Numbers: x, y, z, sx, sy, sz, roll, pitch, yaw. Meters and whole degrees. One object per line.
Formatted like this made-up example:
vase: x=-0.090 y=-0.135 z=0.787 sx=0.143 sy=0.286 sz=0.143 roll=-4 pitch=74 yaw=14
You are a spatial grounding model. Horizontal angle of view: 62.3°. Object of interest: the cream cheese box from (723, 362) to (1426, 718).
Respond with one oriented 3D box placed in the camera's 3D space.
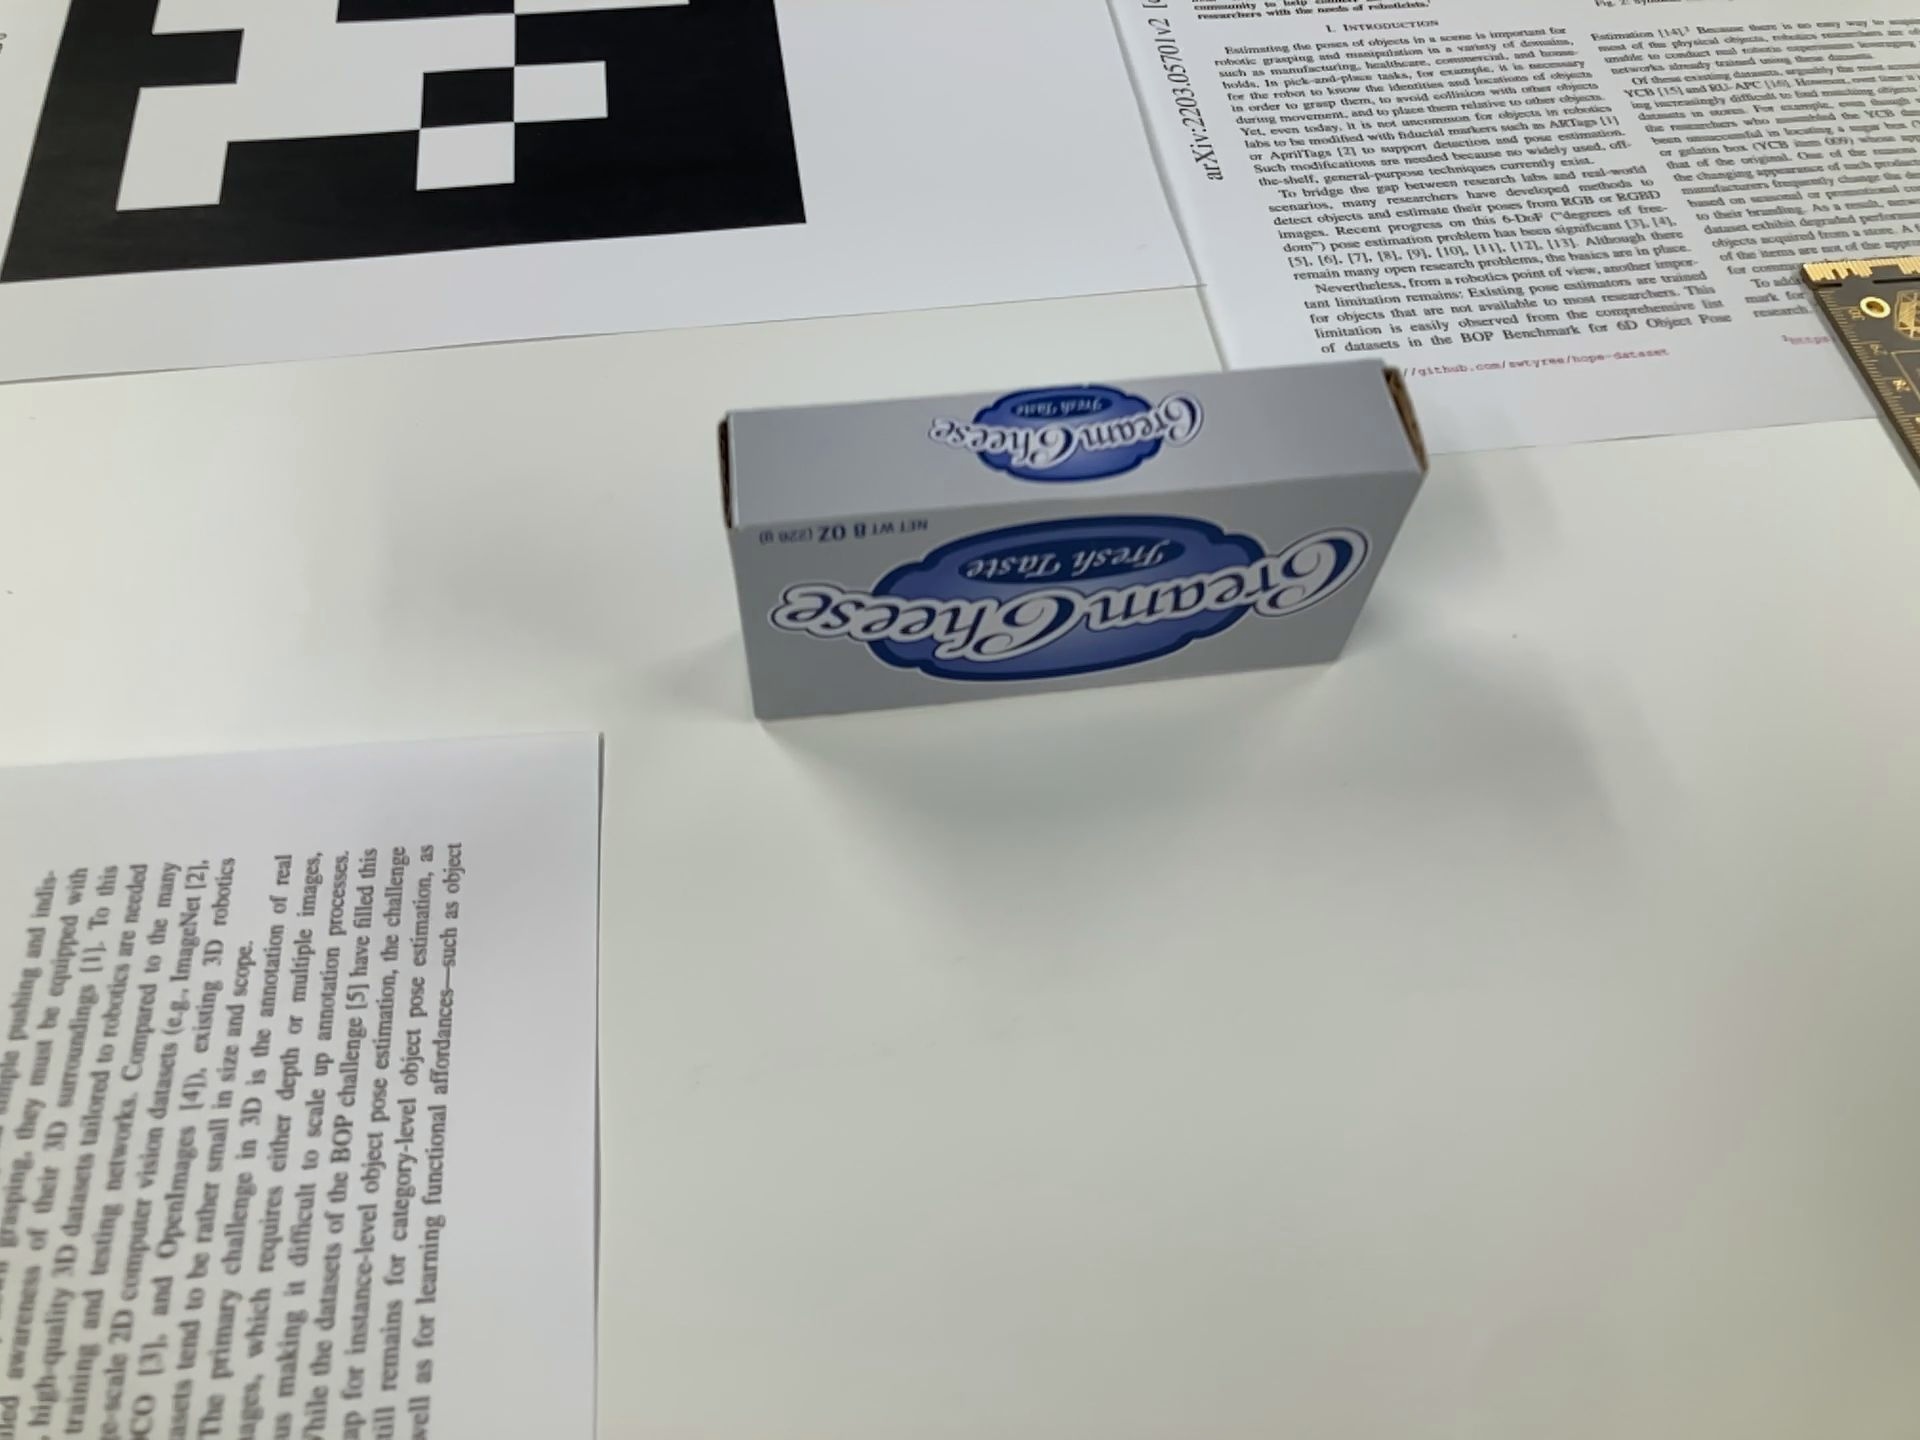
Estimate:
cream cheese box: x=0.016 y=-0.028 z=0.256 sx=0.104 sy=0.053 sz=0.024 roll=-6 pitch=59 yaw=-6
